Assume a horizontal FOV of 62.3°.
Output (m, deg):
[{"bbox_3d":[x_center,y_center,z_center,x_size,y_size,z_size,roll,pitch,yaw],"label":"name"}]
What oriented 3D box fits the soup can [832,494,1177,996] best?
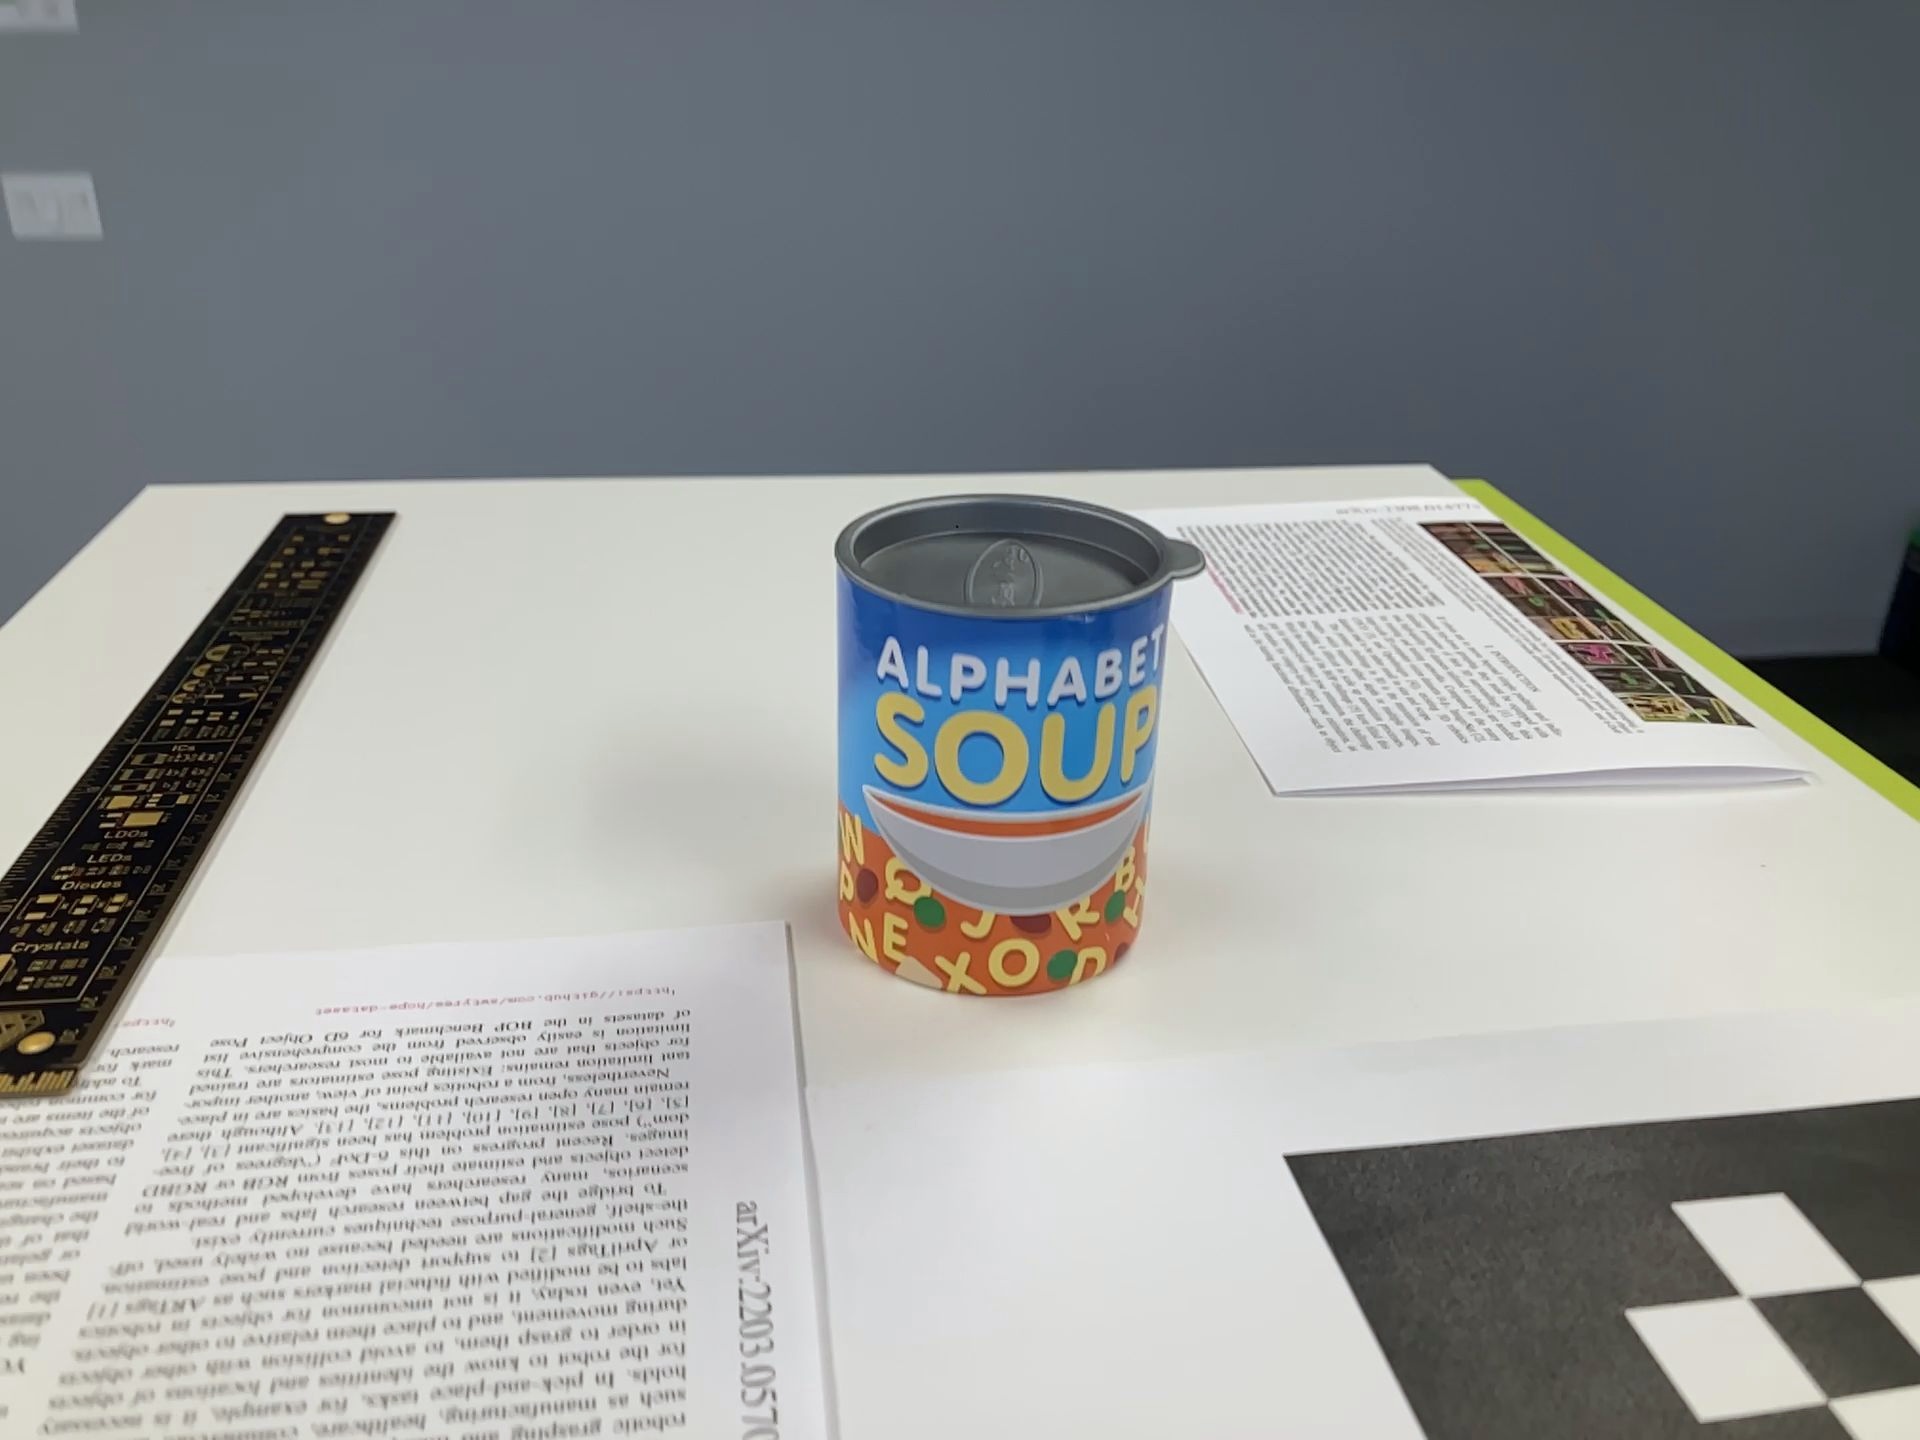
[{"bbox_3d":[0.008,0.005,0.321,0.071,0.084,0.071,1,25,0],"label":"soup can"}]
